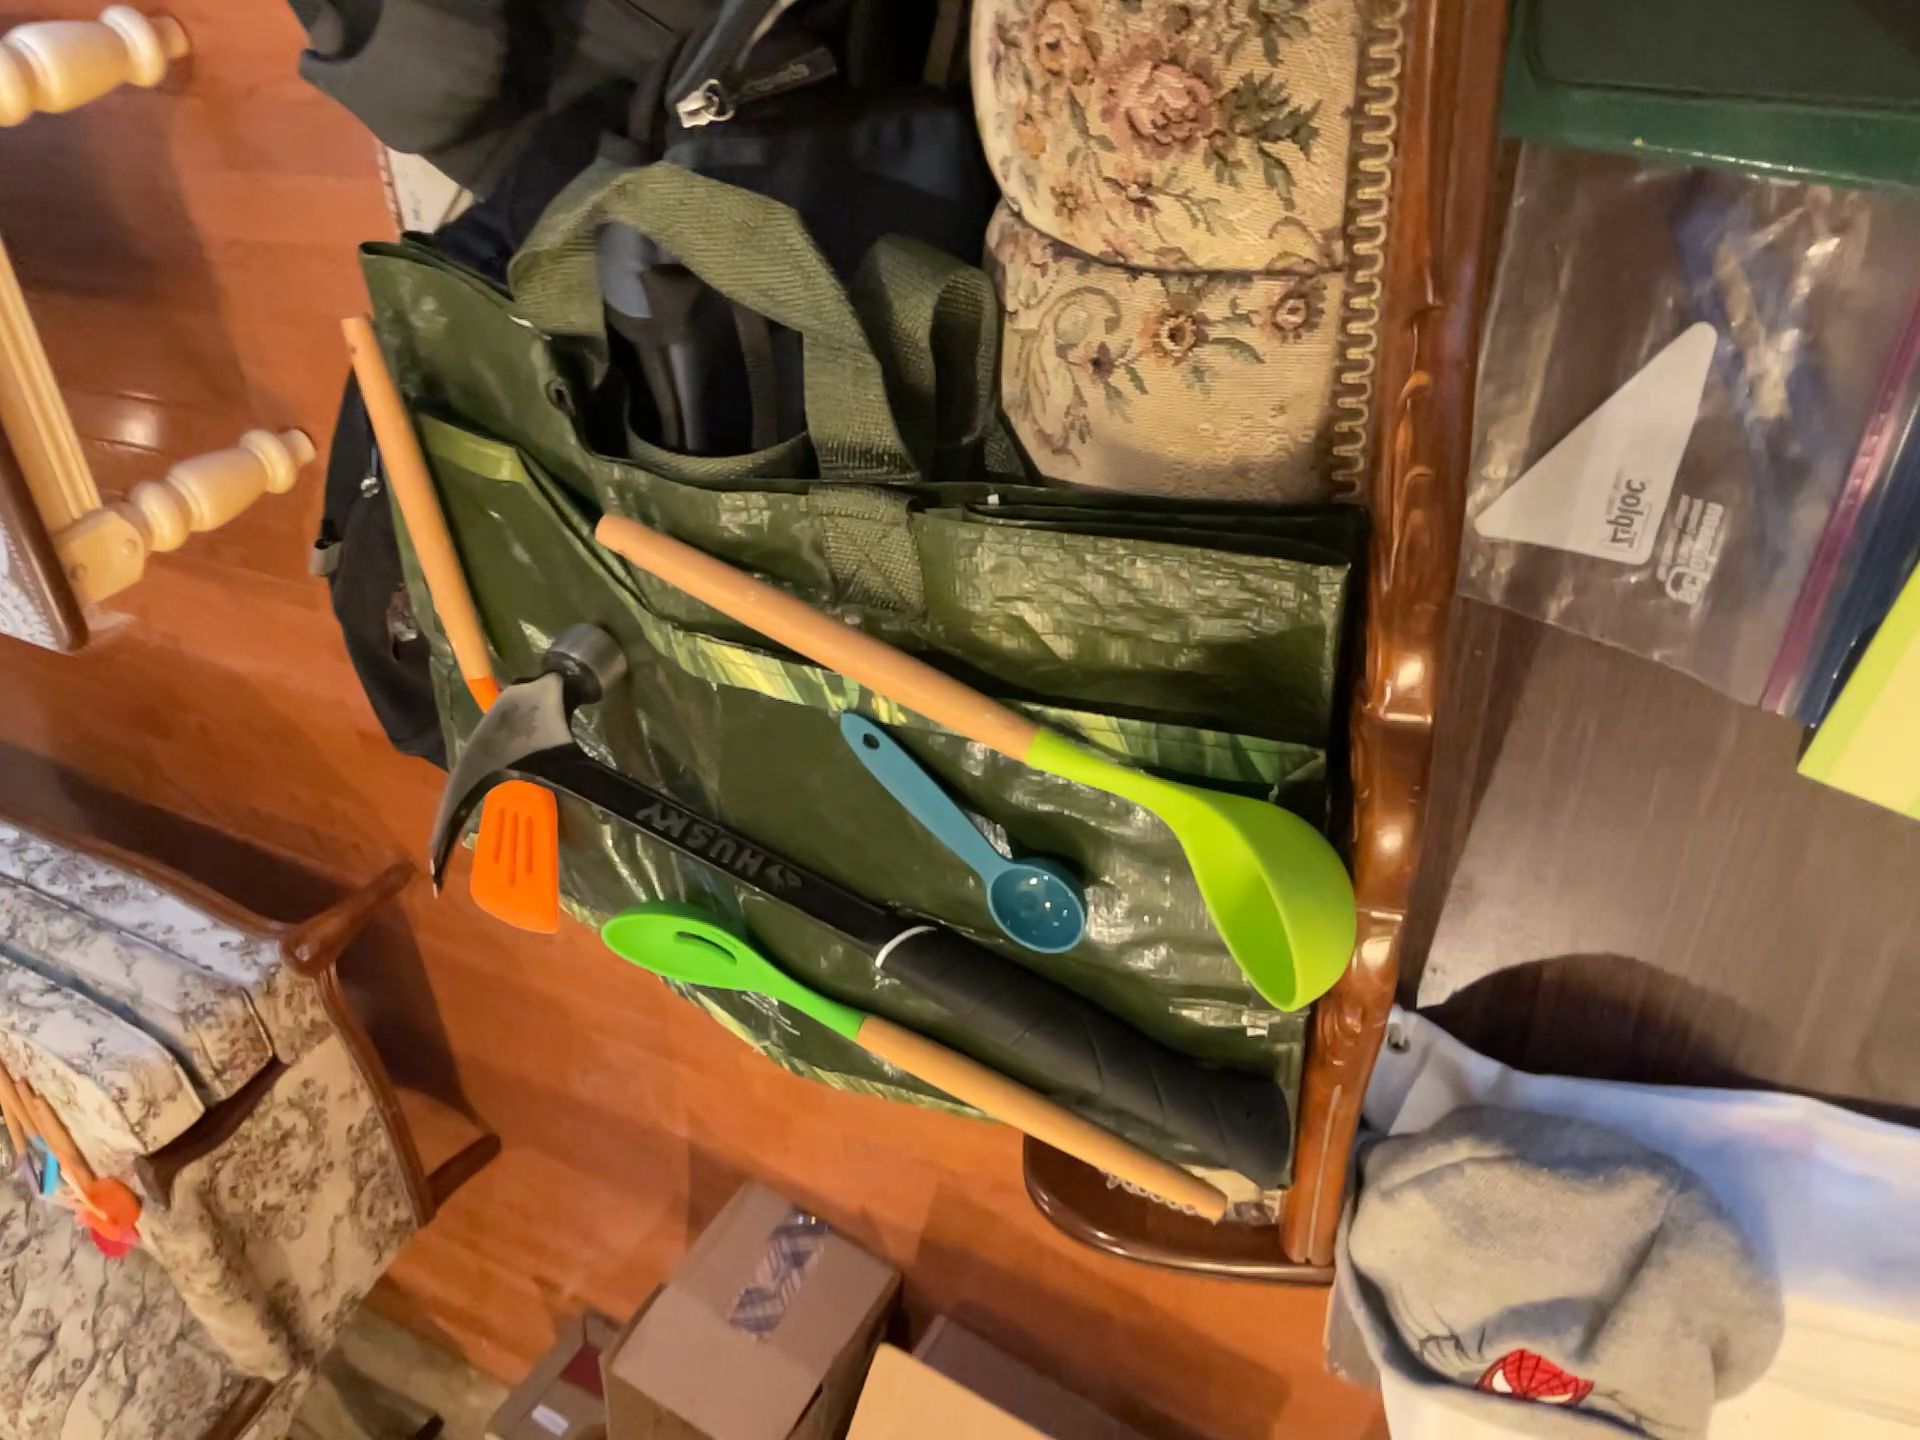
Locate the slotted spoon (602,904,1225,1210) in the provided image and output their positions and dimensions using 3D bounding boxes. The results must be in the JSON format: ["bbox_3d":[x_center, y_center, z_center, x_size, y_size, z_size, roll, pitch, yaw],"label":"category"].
[{"bbox_3d":[-0.023,0.156,0.746,0.314,0.031,0.070,24,147,8],"label":"slotted spoon"}]

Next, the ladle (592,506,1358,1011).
[{"bbox_3d":[-0.002,0.006,0.578,0.320,0.062,0.078,27,158,8],"label":"ladle"}]

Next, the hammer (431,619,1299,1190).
[{"bbox_3d":[-0.041,0.094,0.695,0.409,0.149,0.036,27,141,9],"label":"hammer"}]

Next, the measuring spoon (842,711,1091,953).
[{"bbox_3d":[0.004,0.039,0.625,0.128,0.021,0.042,45,133,-2],"label":"measuring spoon"}]

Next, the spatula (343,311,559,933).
[{"bbox_3d":[-0.257,-0.042,0.799,0.081,0.041,0.322,11,123,39],"label":"spatula"}]
